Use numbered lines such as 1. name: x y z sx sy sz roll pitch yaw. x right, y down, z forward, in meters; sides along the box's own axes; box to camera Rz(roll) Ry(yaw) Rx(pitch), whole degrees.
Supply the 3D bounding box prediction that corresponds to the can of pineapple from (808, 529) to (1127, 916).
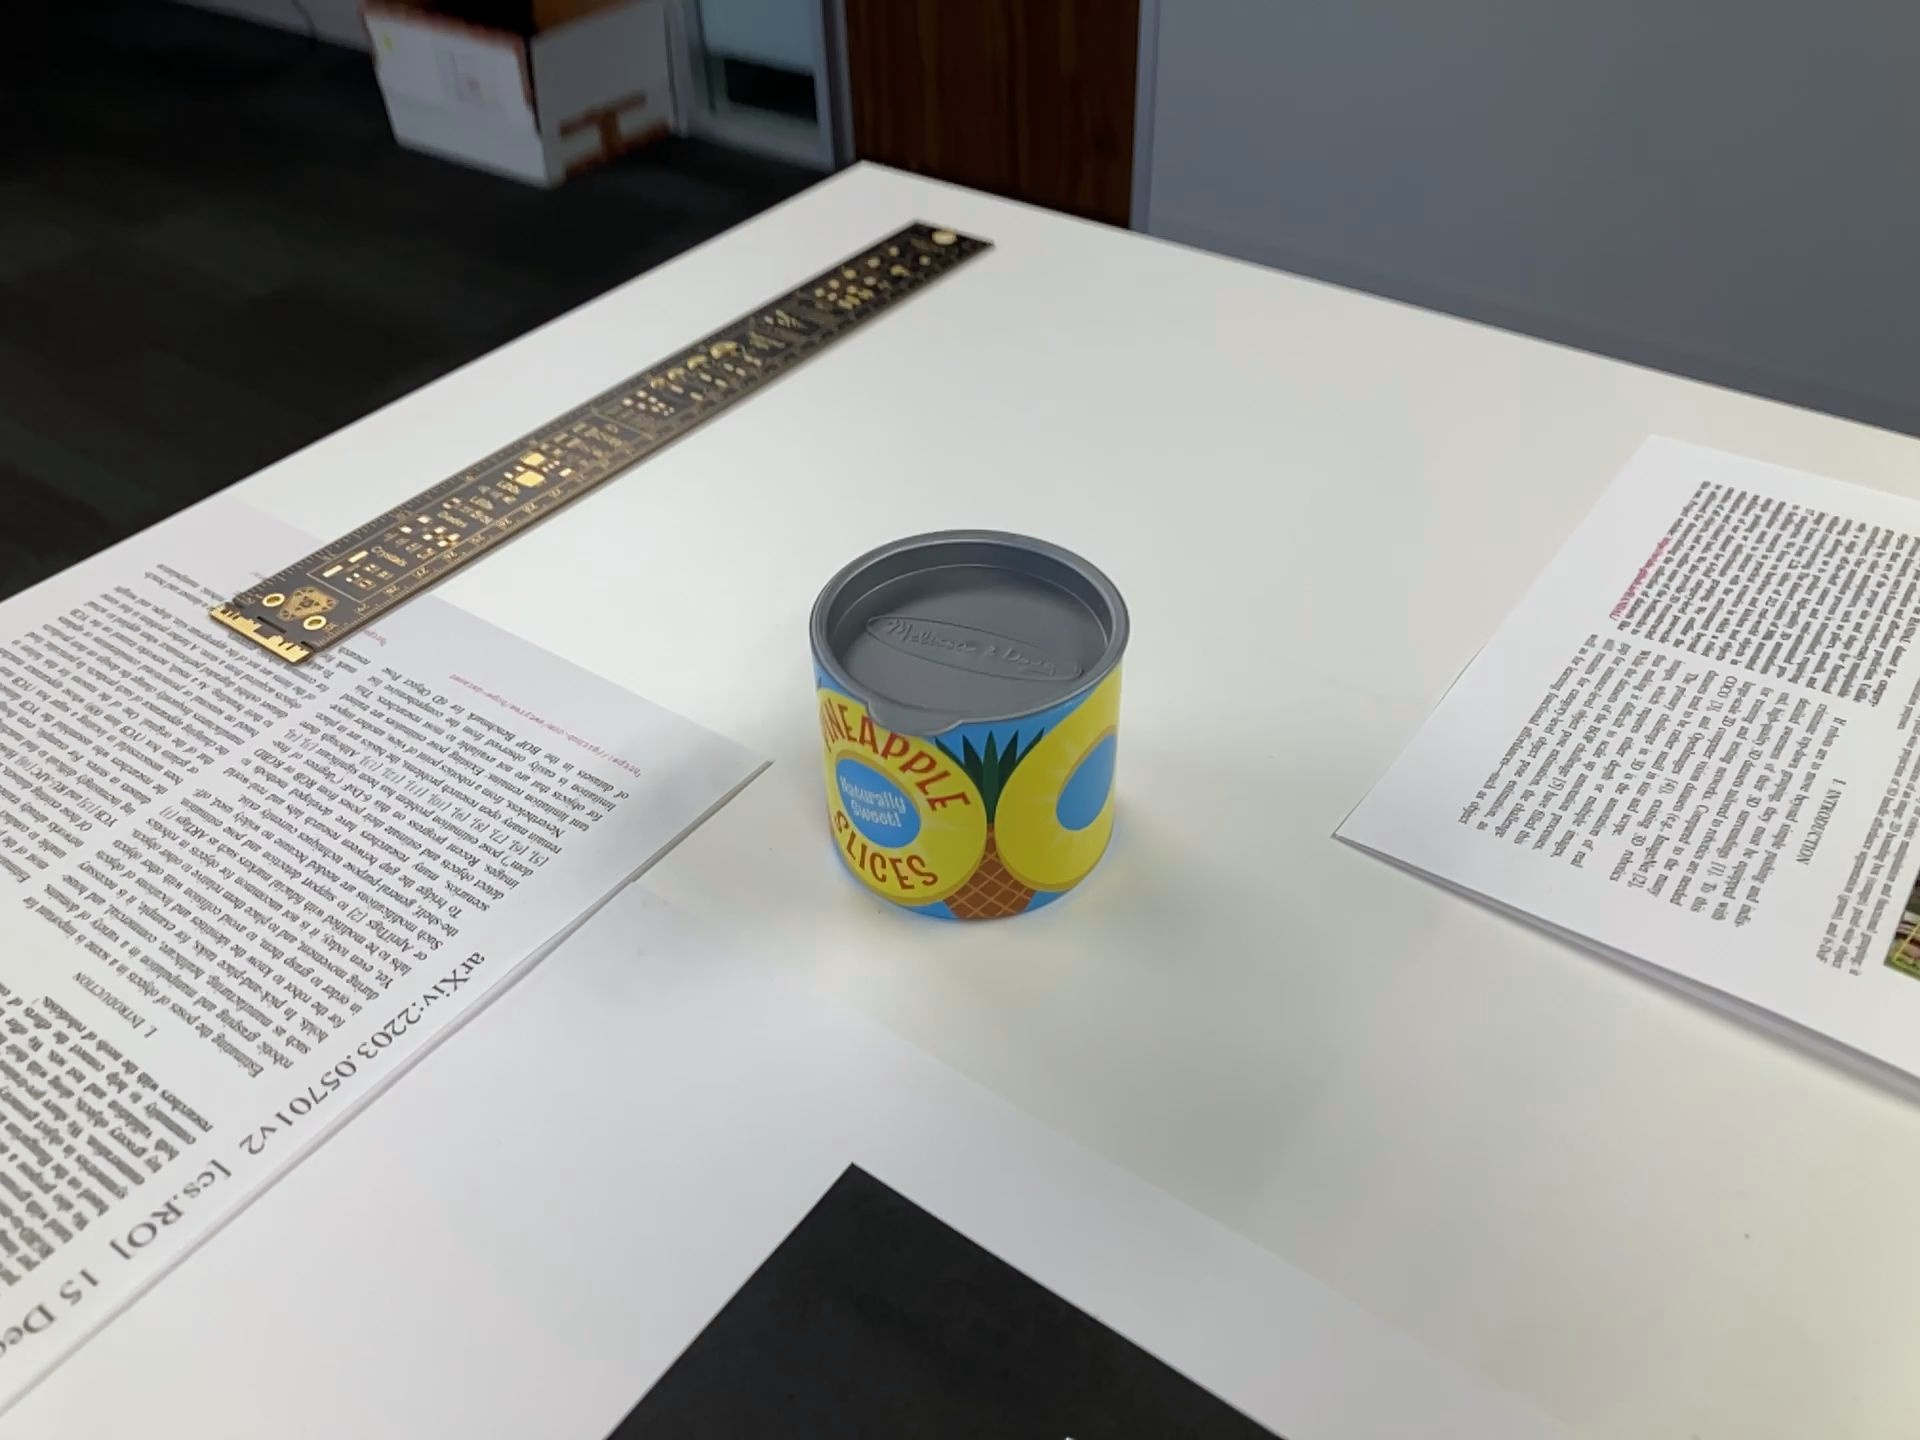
1. can of pineapple: 0.001 0.001 0.345 0.071 0.058 0.071 -1 40 1
